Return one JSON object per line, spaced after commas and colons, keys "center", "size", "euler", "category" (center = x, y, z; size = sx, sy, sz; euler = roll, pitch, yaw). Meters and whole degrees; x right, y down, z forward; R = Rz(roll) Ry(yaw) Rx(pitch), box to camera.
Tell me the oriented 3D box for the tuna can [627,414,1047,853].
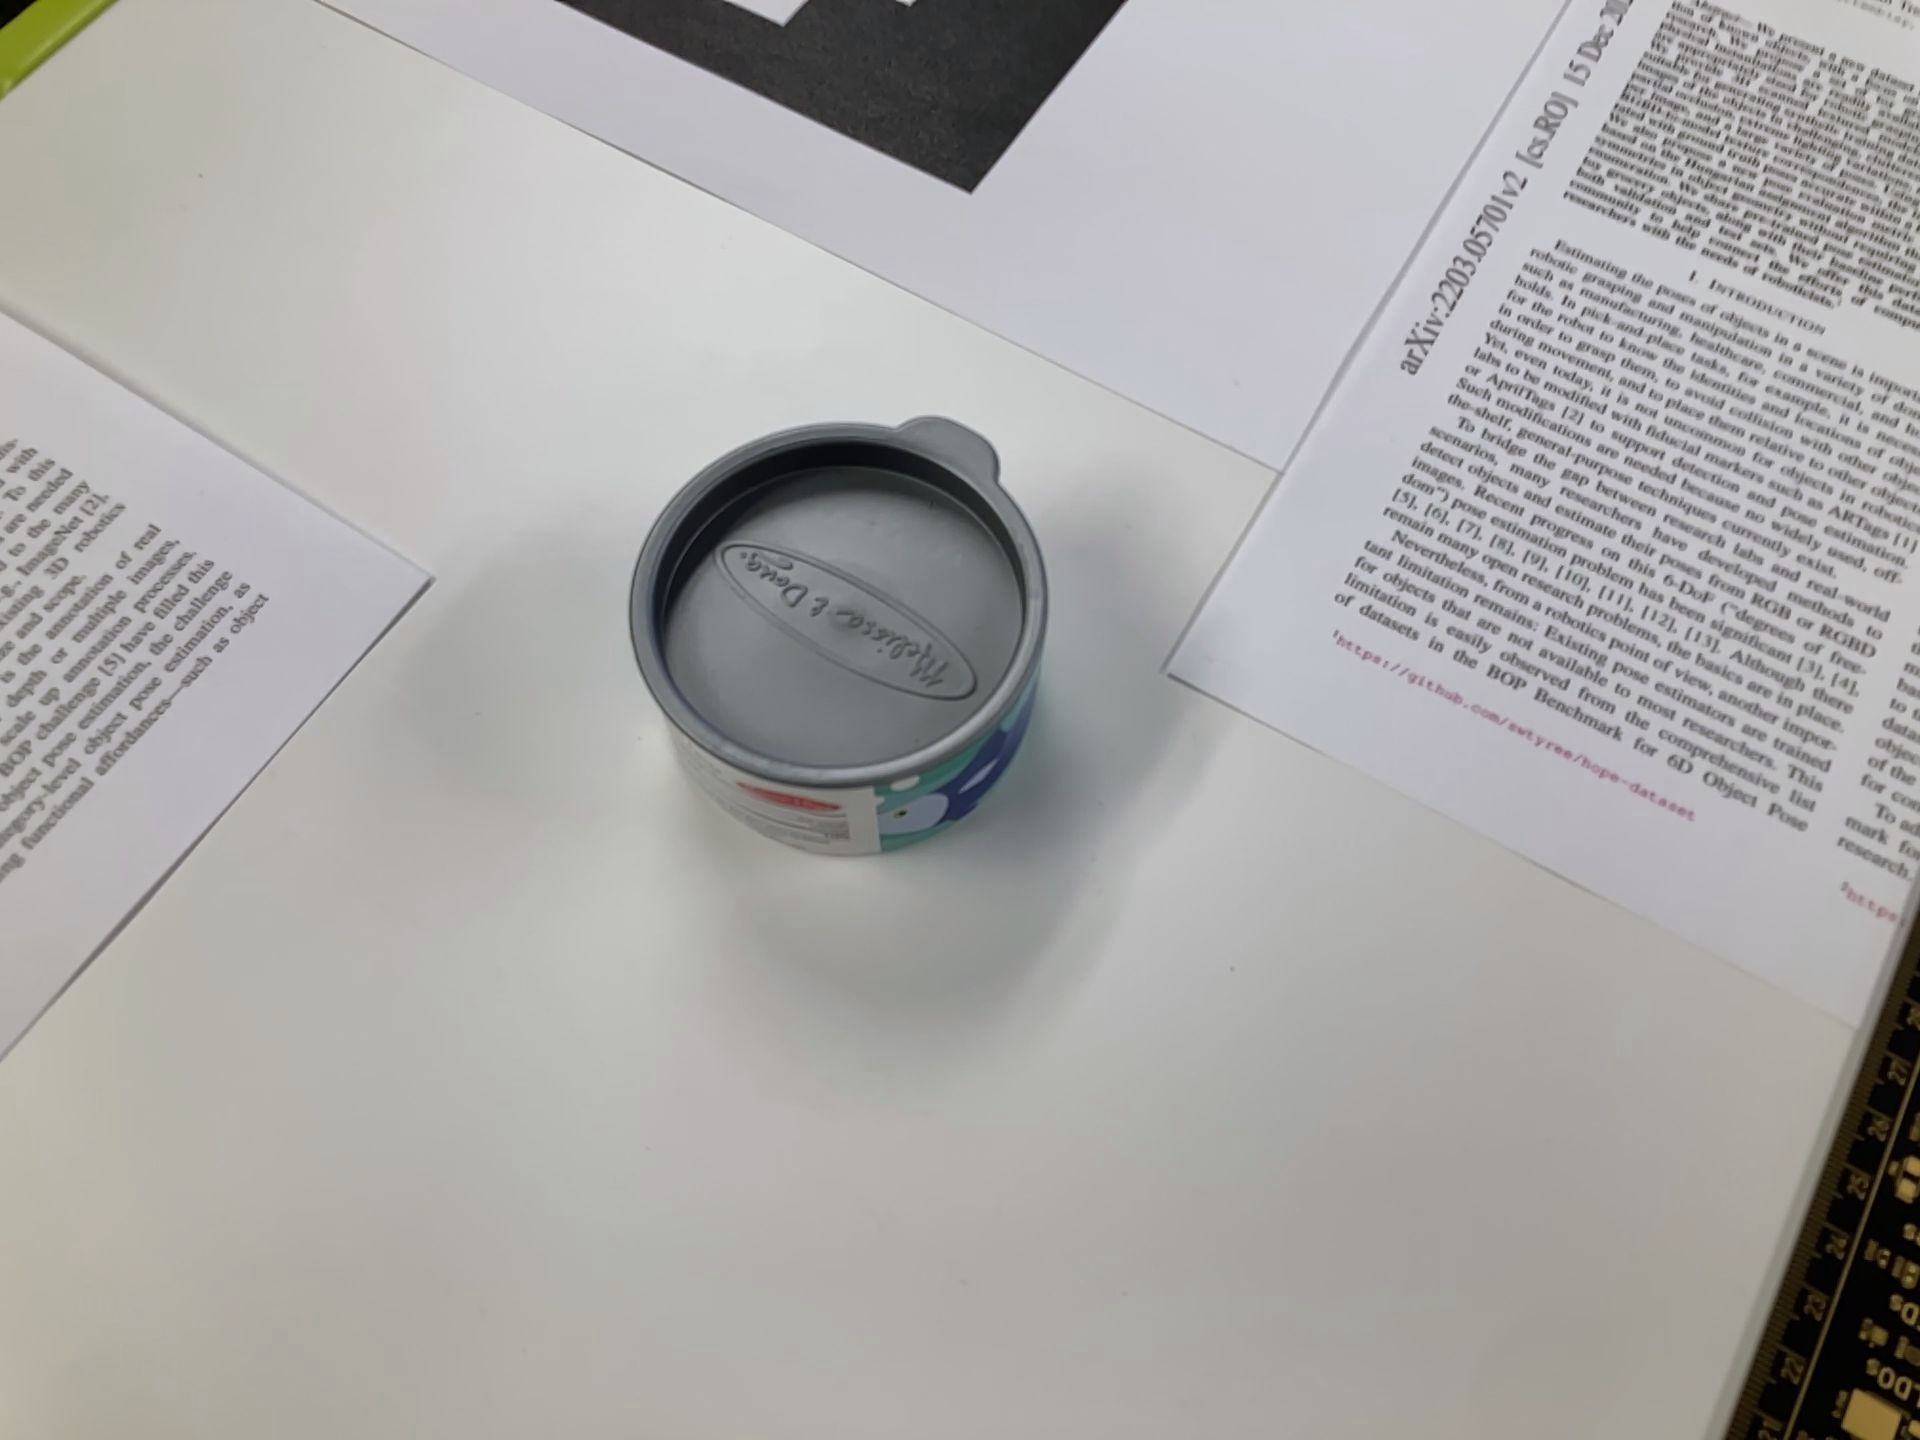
{"center": [-0.018, -0.016, 0.264], "size": [0.071, 0.033, 0.071], "euler": [0, 64, 0], "category": "tuna can"}
